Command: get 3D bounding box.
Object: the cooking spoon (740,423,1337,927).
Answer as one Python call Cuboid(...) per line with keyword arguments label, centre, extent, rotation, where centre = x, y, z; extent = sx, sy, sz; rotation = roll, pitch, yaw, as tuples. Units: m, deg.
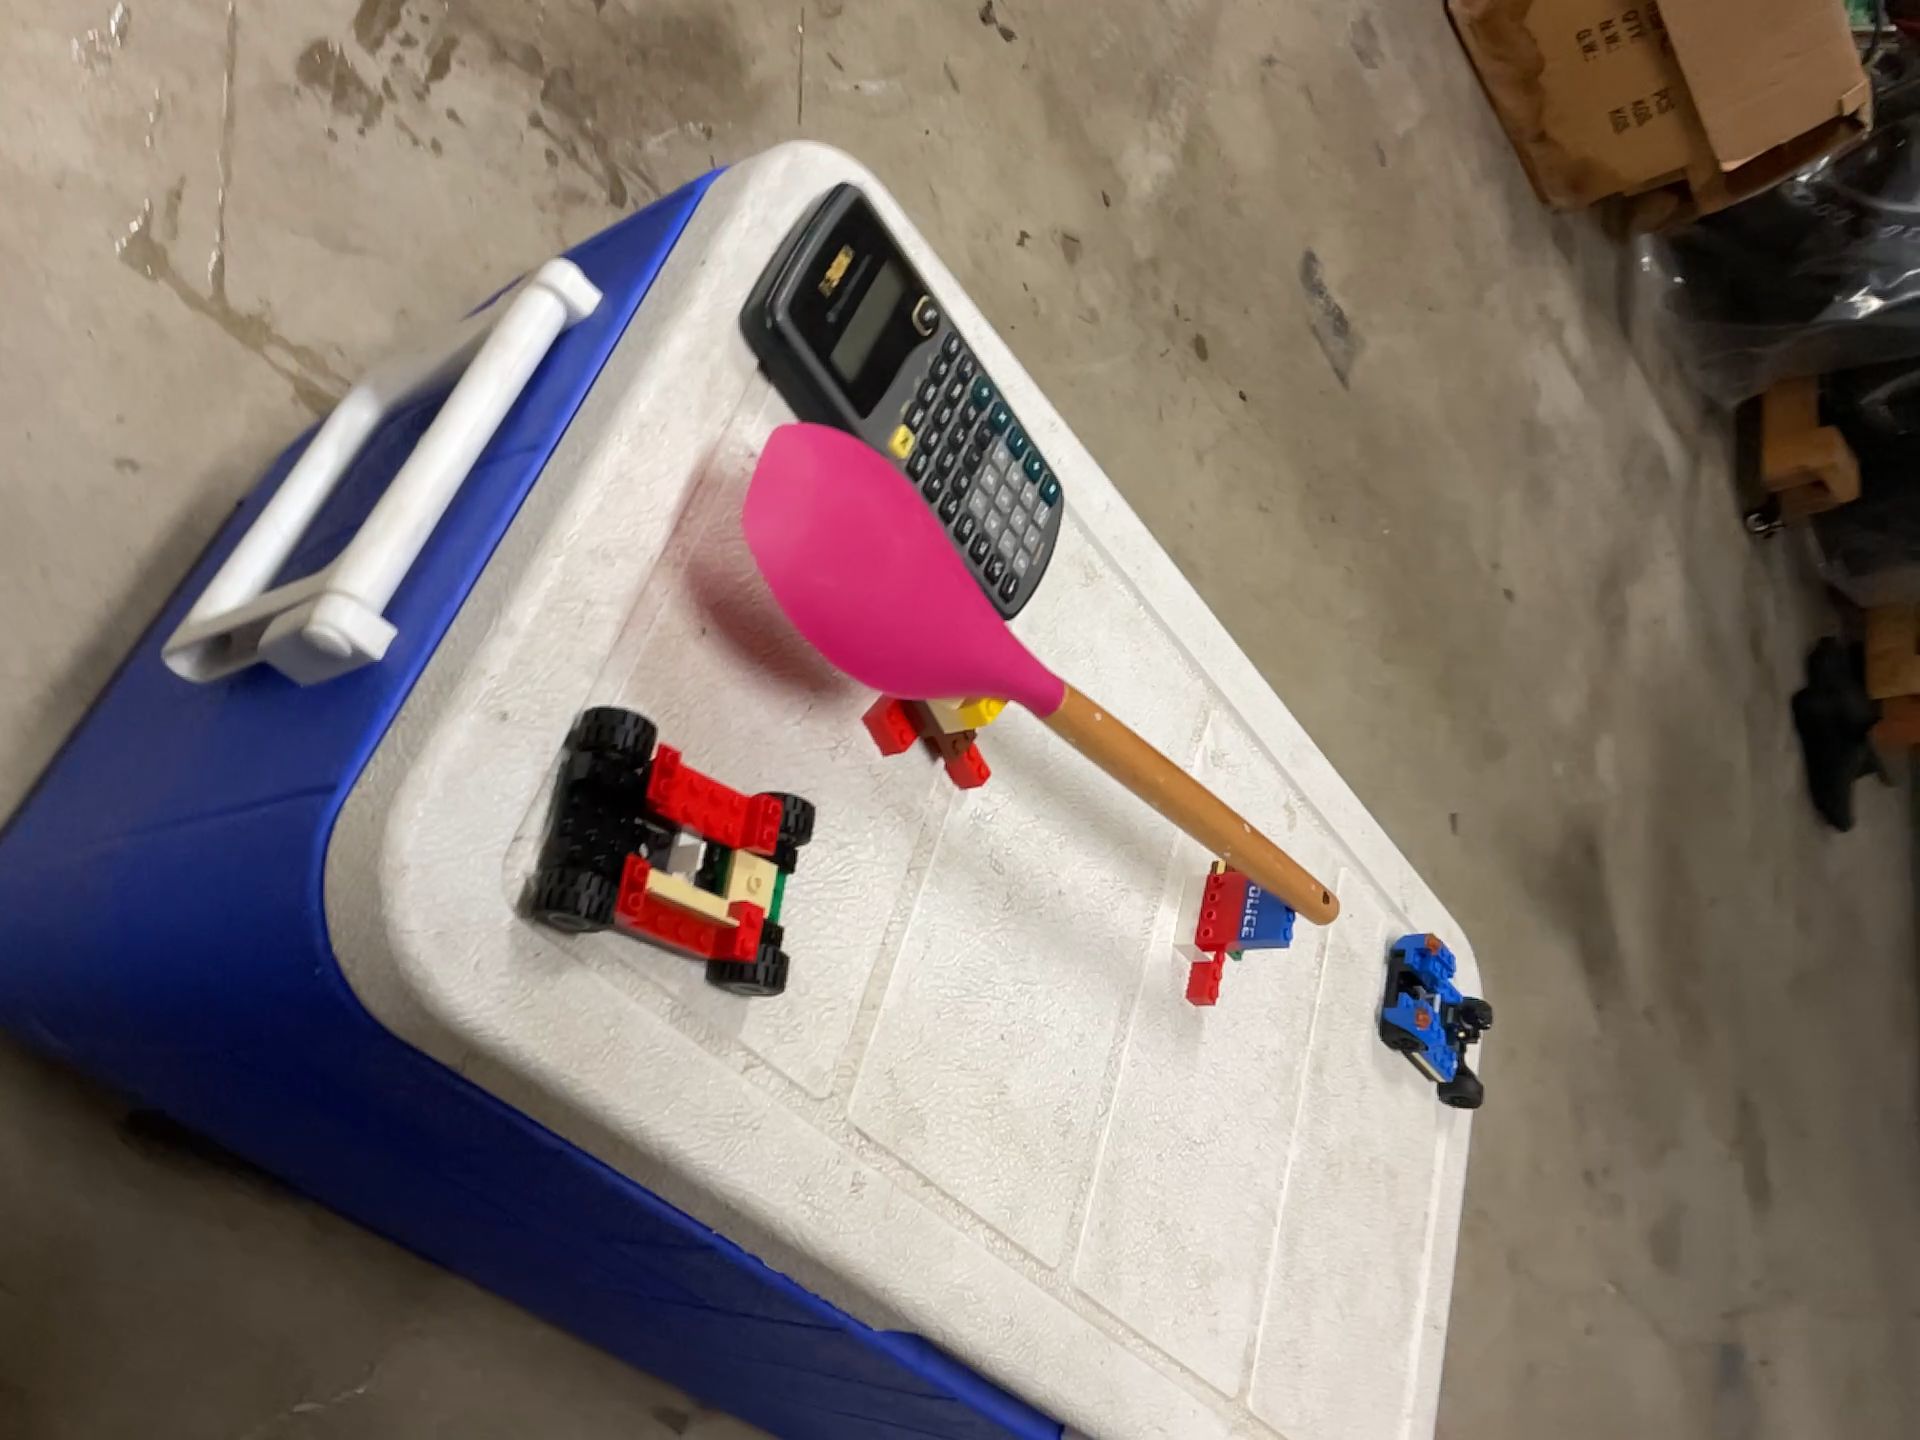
Cuboid(label="cooking spoon", centre=(0.045, 0.004, 0.538), extent=(0.319, 0.017, 0.069), rotation=(36, 60, -39))
